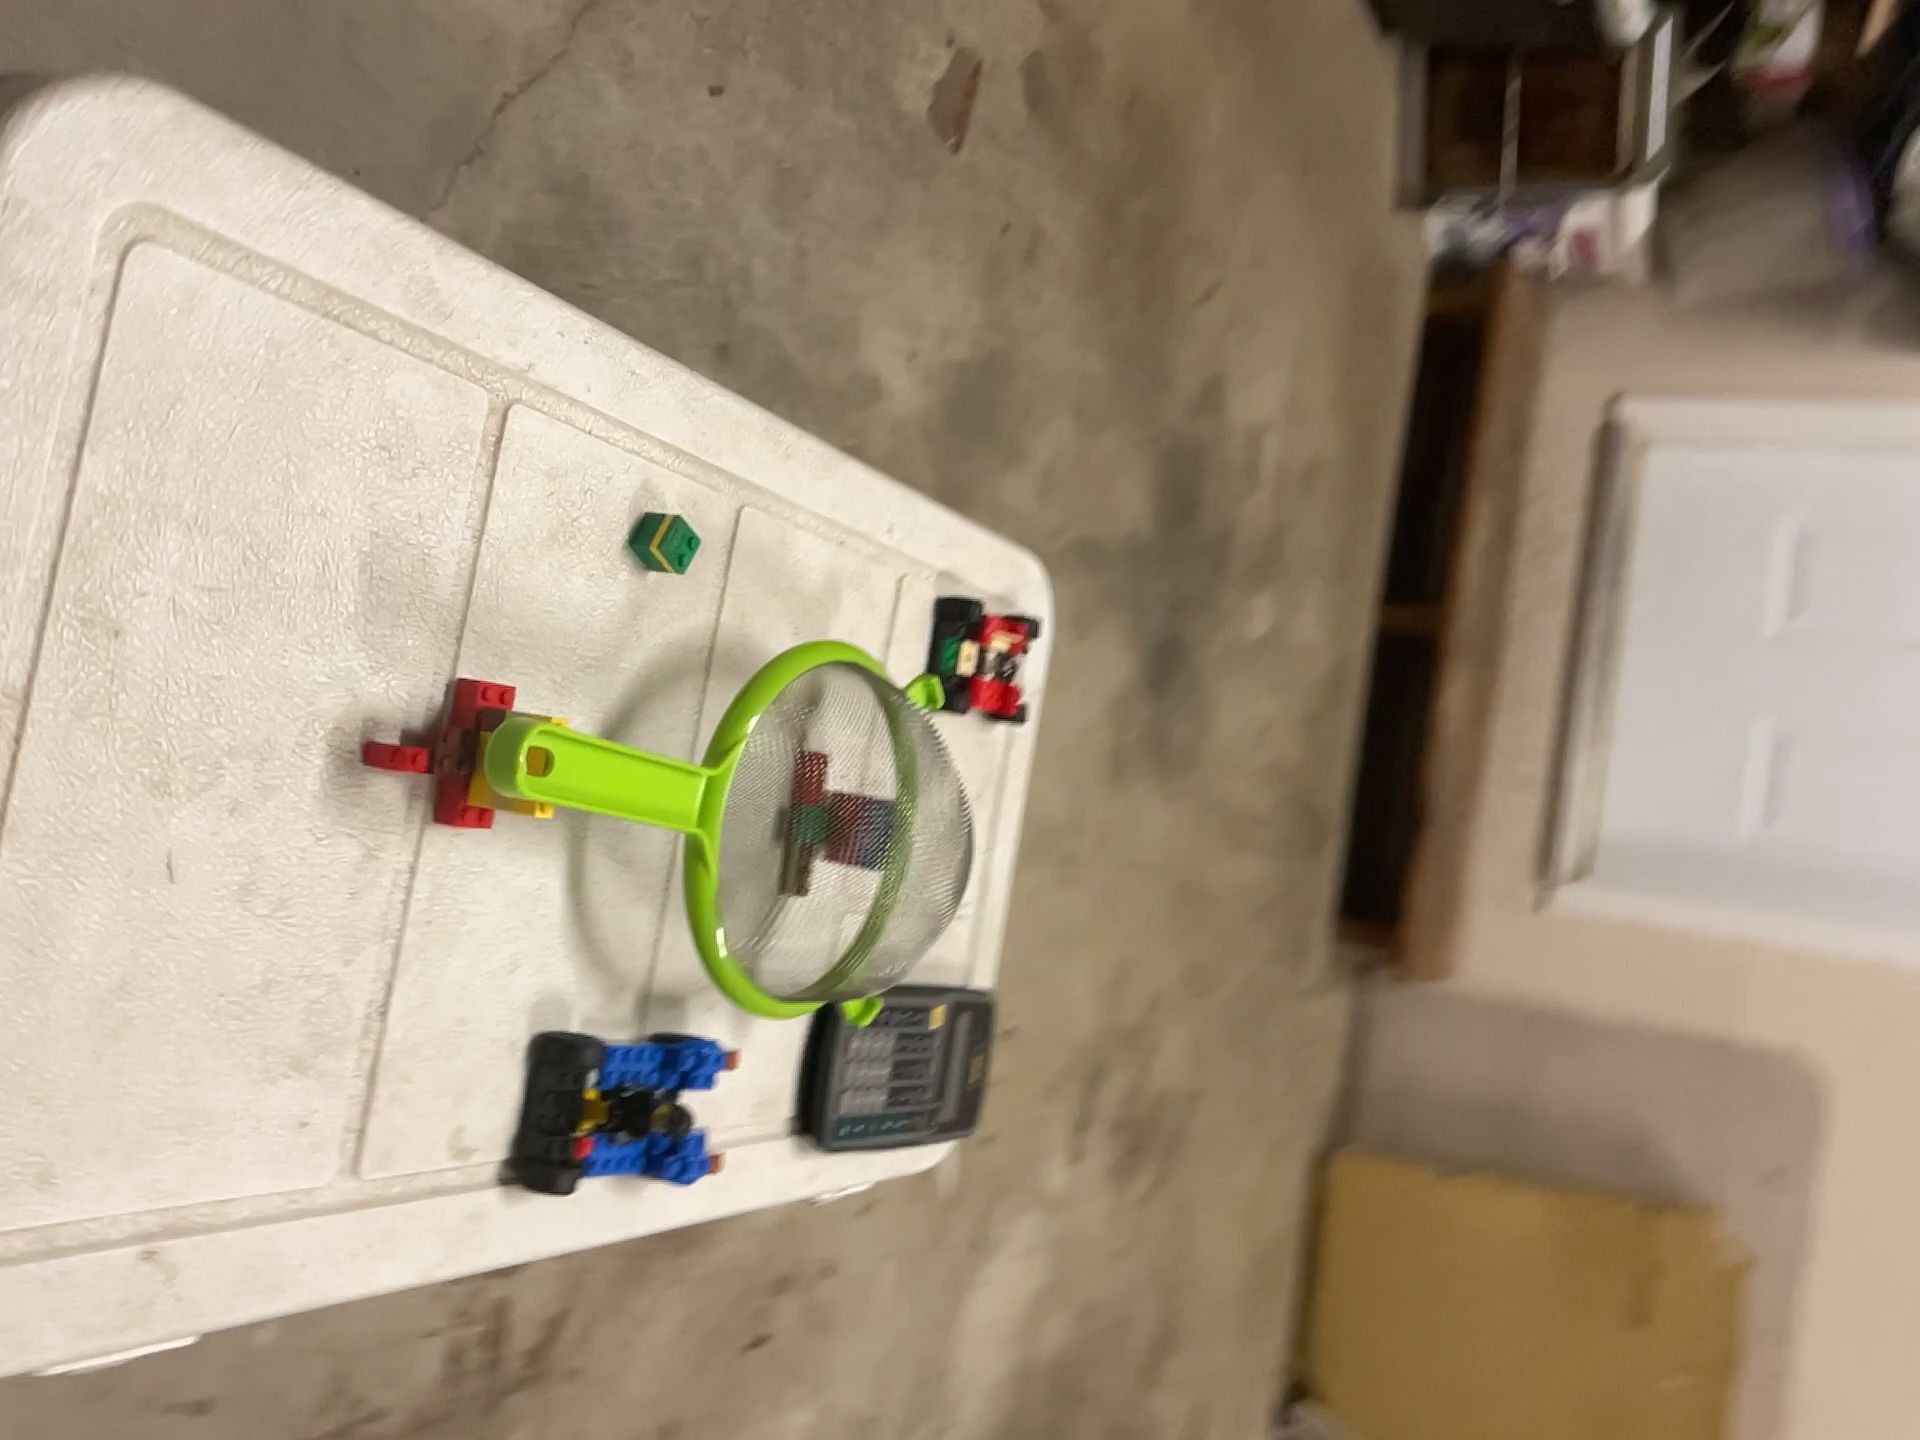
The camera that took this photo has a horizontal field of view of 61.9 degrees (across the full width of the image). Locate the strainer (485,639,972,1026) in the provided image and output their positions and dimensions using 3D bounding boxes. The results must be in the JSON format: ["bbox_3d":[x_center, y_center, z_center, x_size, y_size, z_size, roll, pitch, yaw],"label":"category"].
[{"bbox_3d":[-0.059,0.037,0.573,0.256,0.069,0.151,23,78,-62],"label":"strainer"}]
